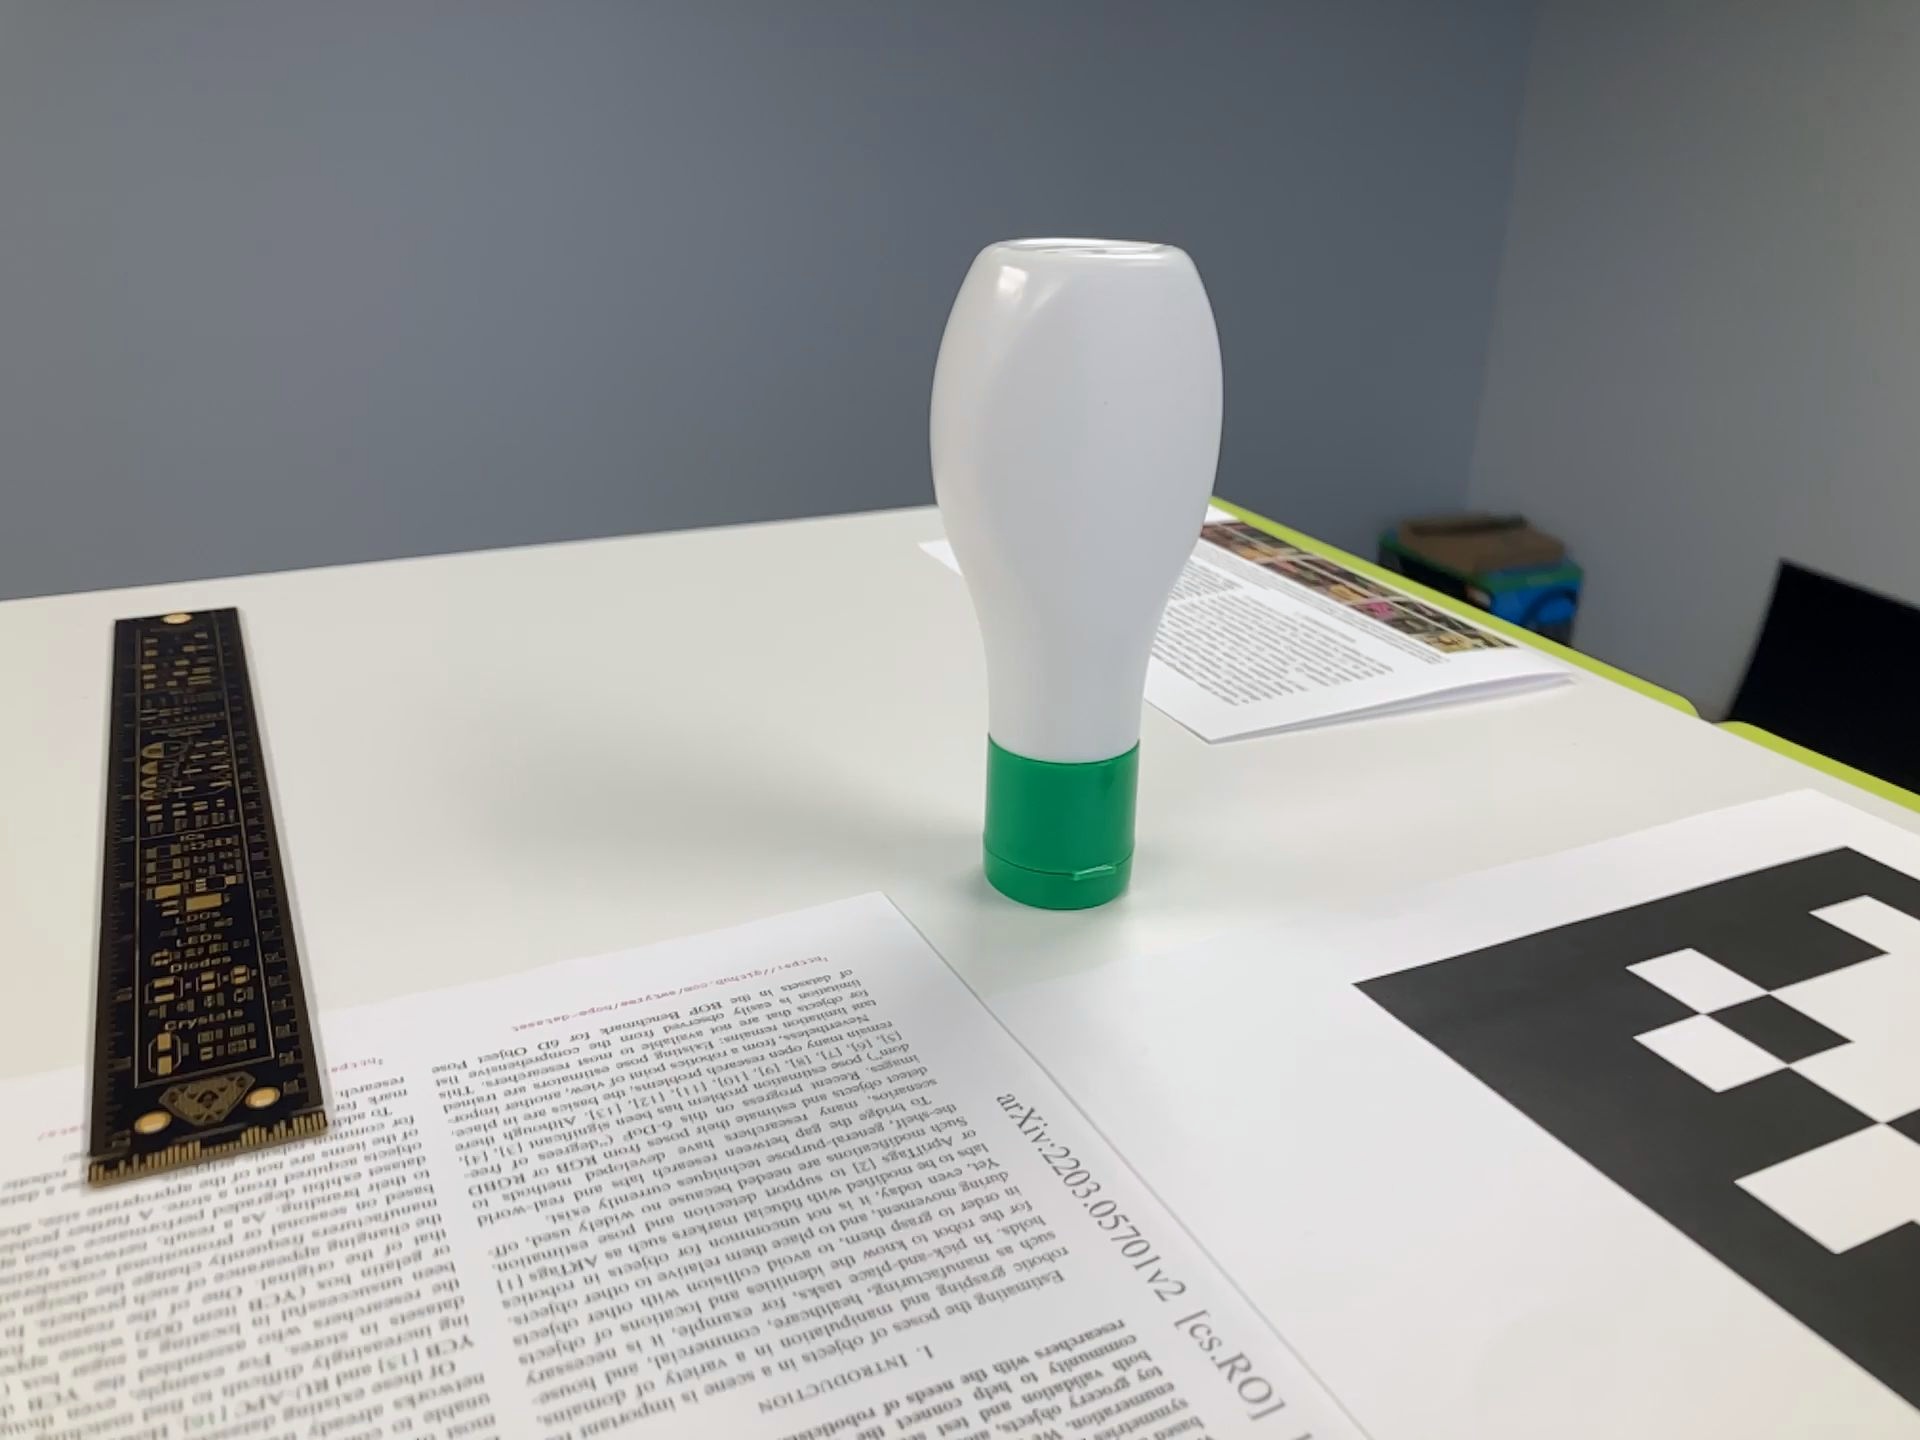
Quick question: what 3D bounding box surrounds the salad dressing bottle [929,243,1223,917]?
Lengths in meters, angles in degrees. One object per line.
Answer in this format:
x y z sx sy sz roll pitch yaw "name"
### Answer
0.025 -0.029 0.356 0.064 0.147 0.044 -8 23 -23 "salad dressing bottle"
